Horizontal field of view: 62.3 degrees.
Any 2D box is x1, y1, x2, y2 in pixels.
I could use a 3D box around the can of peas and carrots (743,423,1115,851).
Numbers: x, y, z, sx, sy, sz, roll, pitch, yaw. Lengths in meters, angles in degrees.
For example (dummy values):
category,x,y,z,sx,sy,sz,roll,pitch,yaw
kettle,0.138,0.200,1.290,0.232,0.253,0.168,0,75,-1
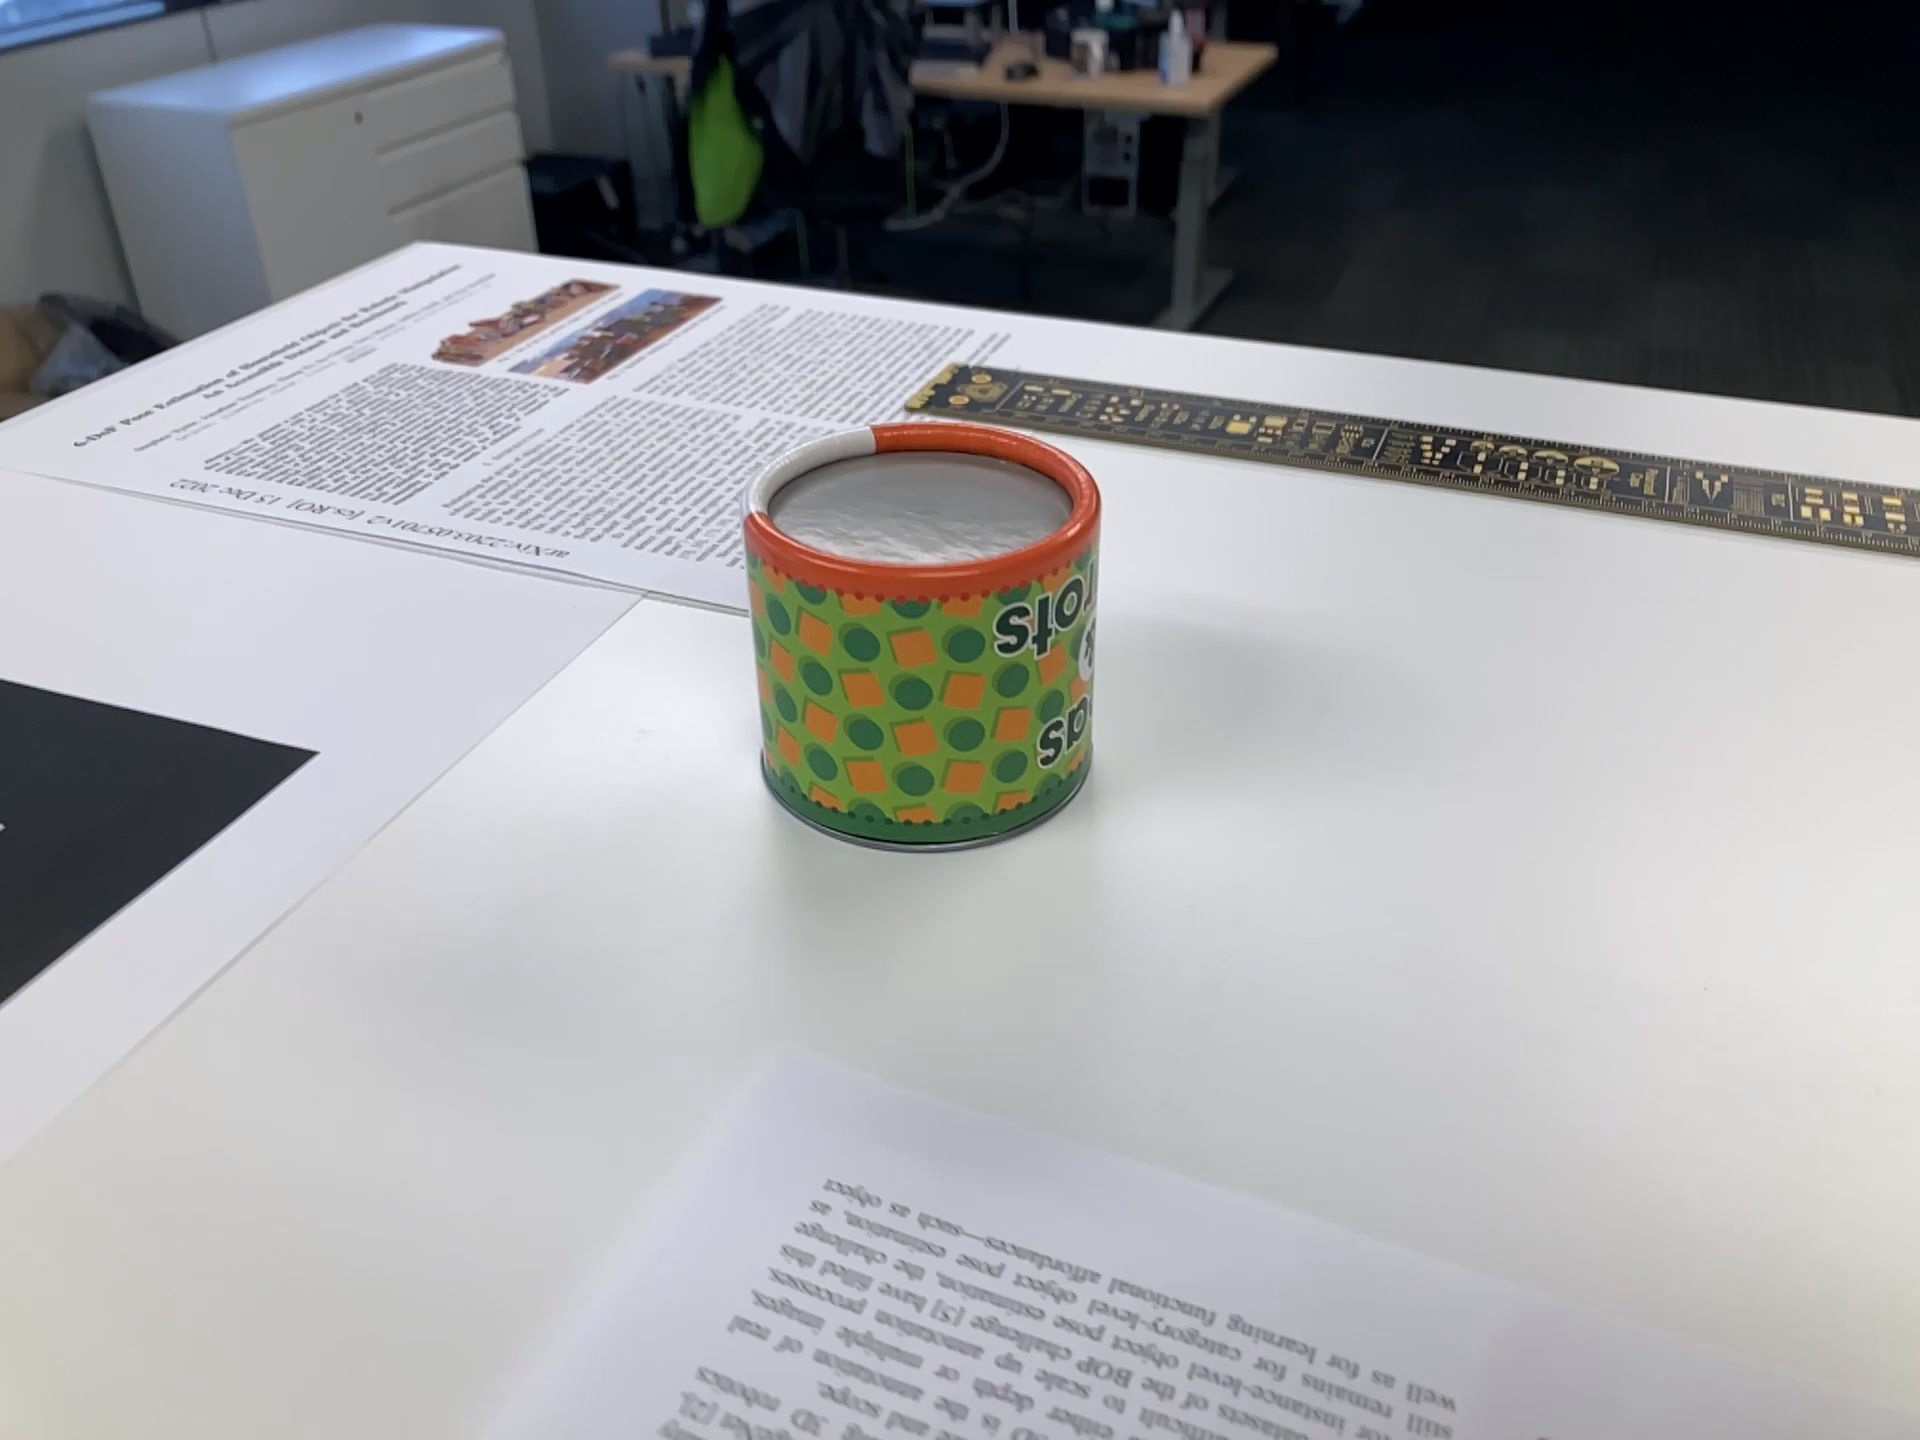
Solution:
category,x,y,z,sx,sy,sz,roll,pitch,yaw
can of peas and carrots,-0.005,-0.017,0.305,0.071,0.059,0.071,0,34,0
